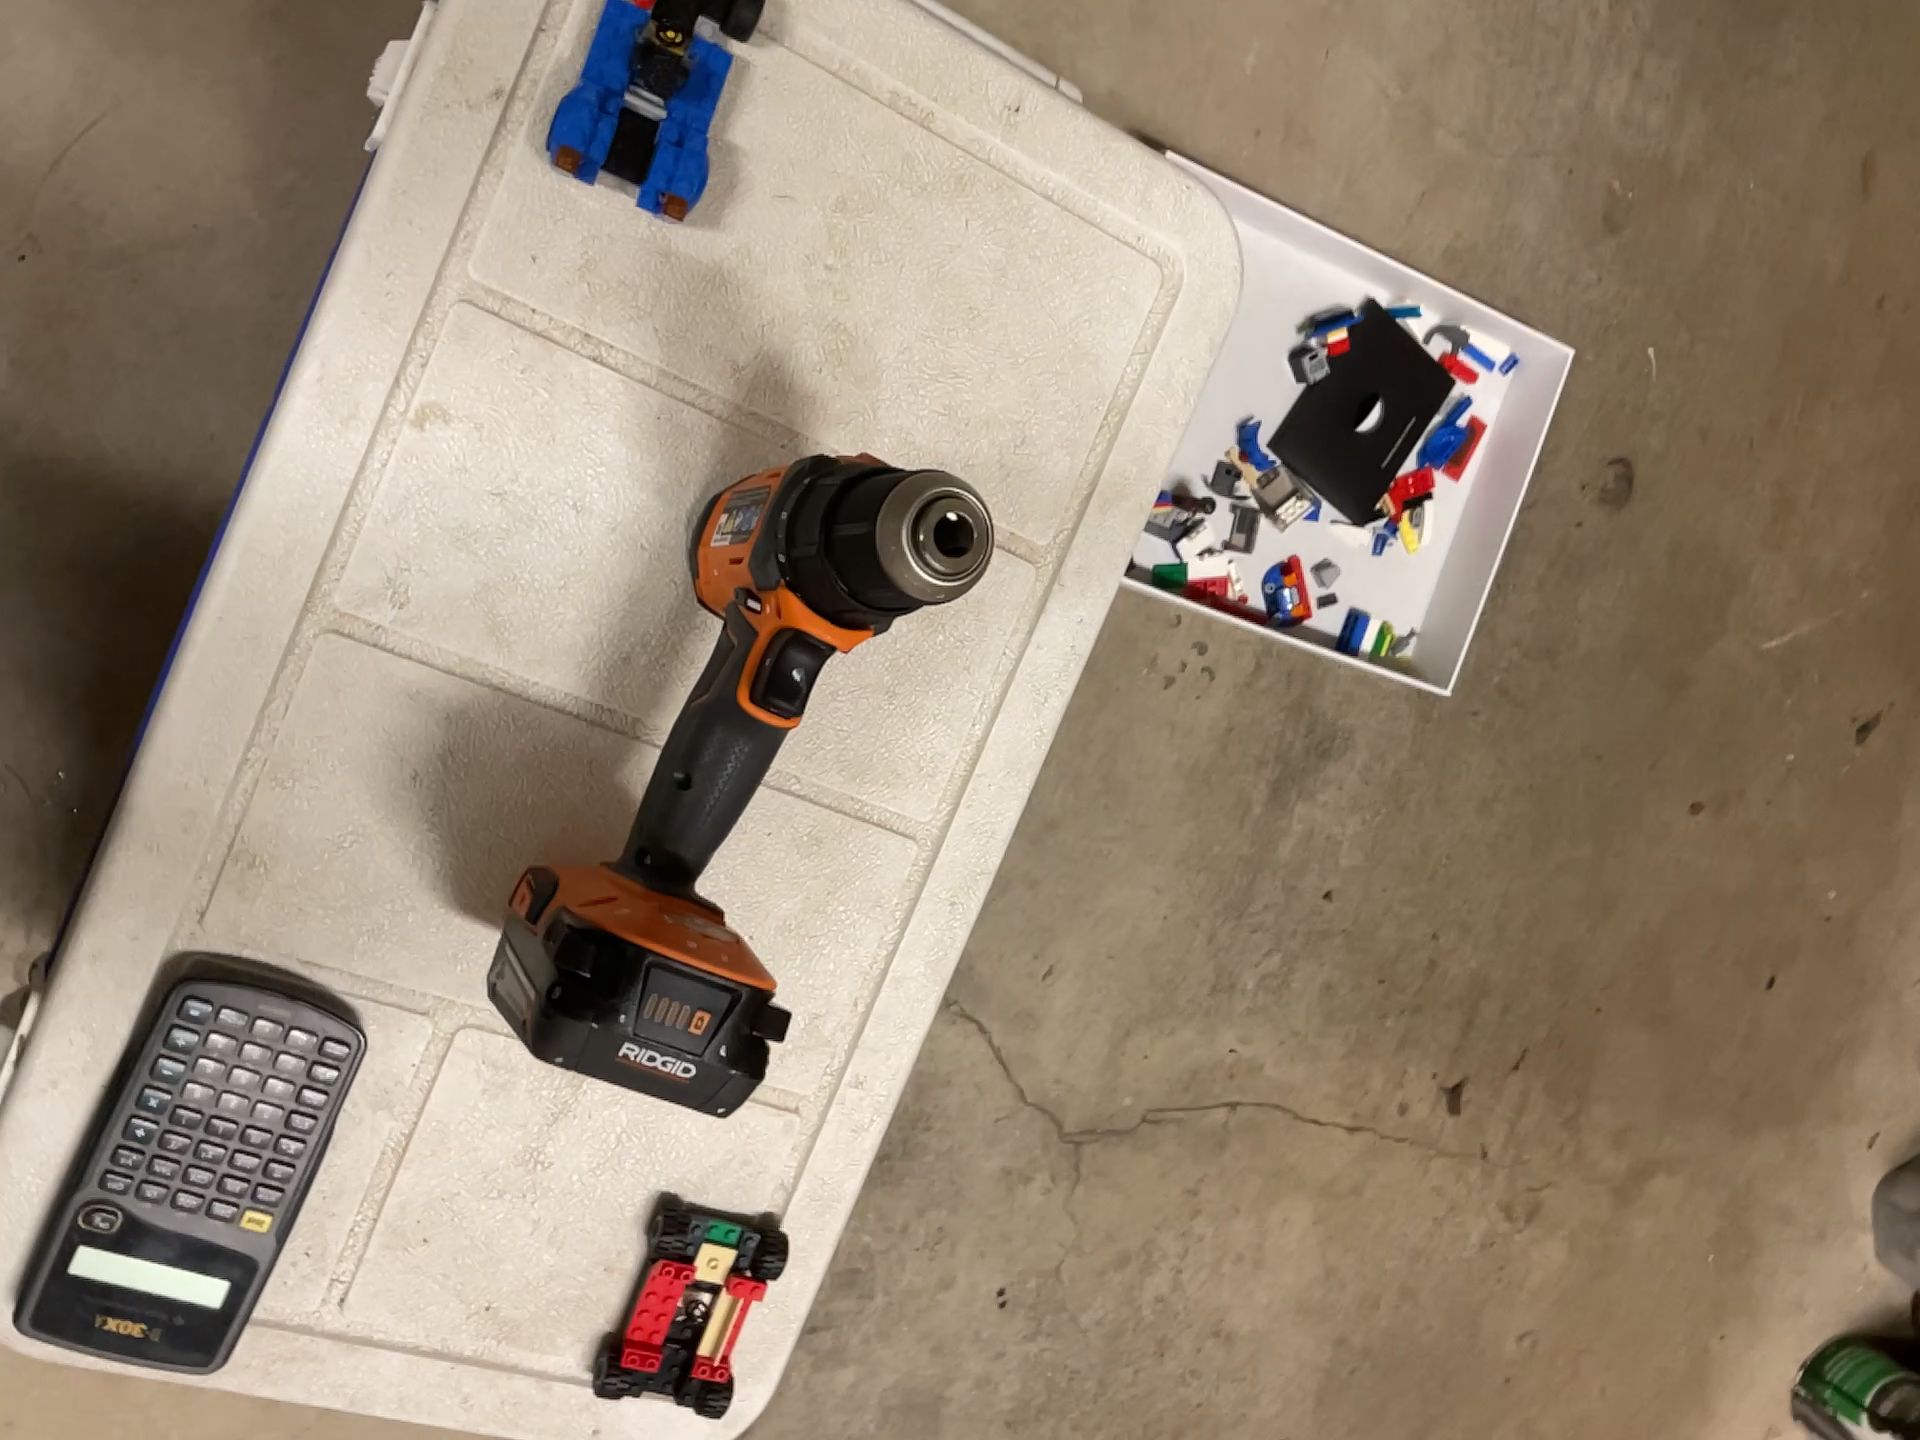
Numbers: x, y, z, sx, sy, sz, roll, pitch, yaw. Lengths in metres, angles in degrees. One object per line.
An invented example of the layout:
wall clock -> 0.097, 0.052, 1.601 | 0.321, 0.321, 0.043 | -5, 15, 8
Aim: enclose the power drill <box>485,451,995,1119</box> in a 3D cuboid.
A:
power drill -> -0.072, 0.013, 0.543 | 0.084, 0.185, 0.226 | 26, 82, -26
